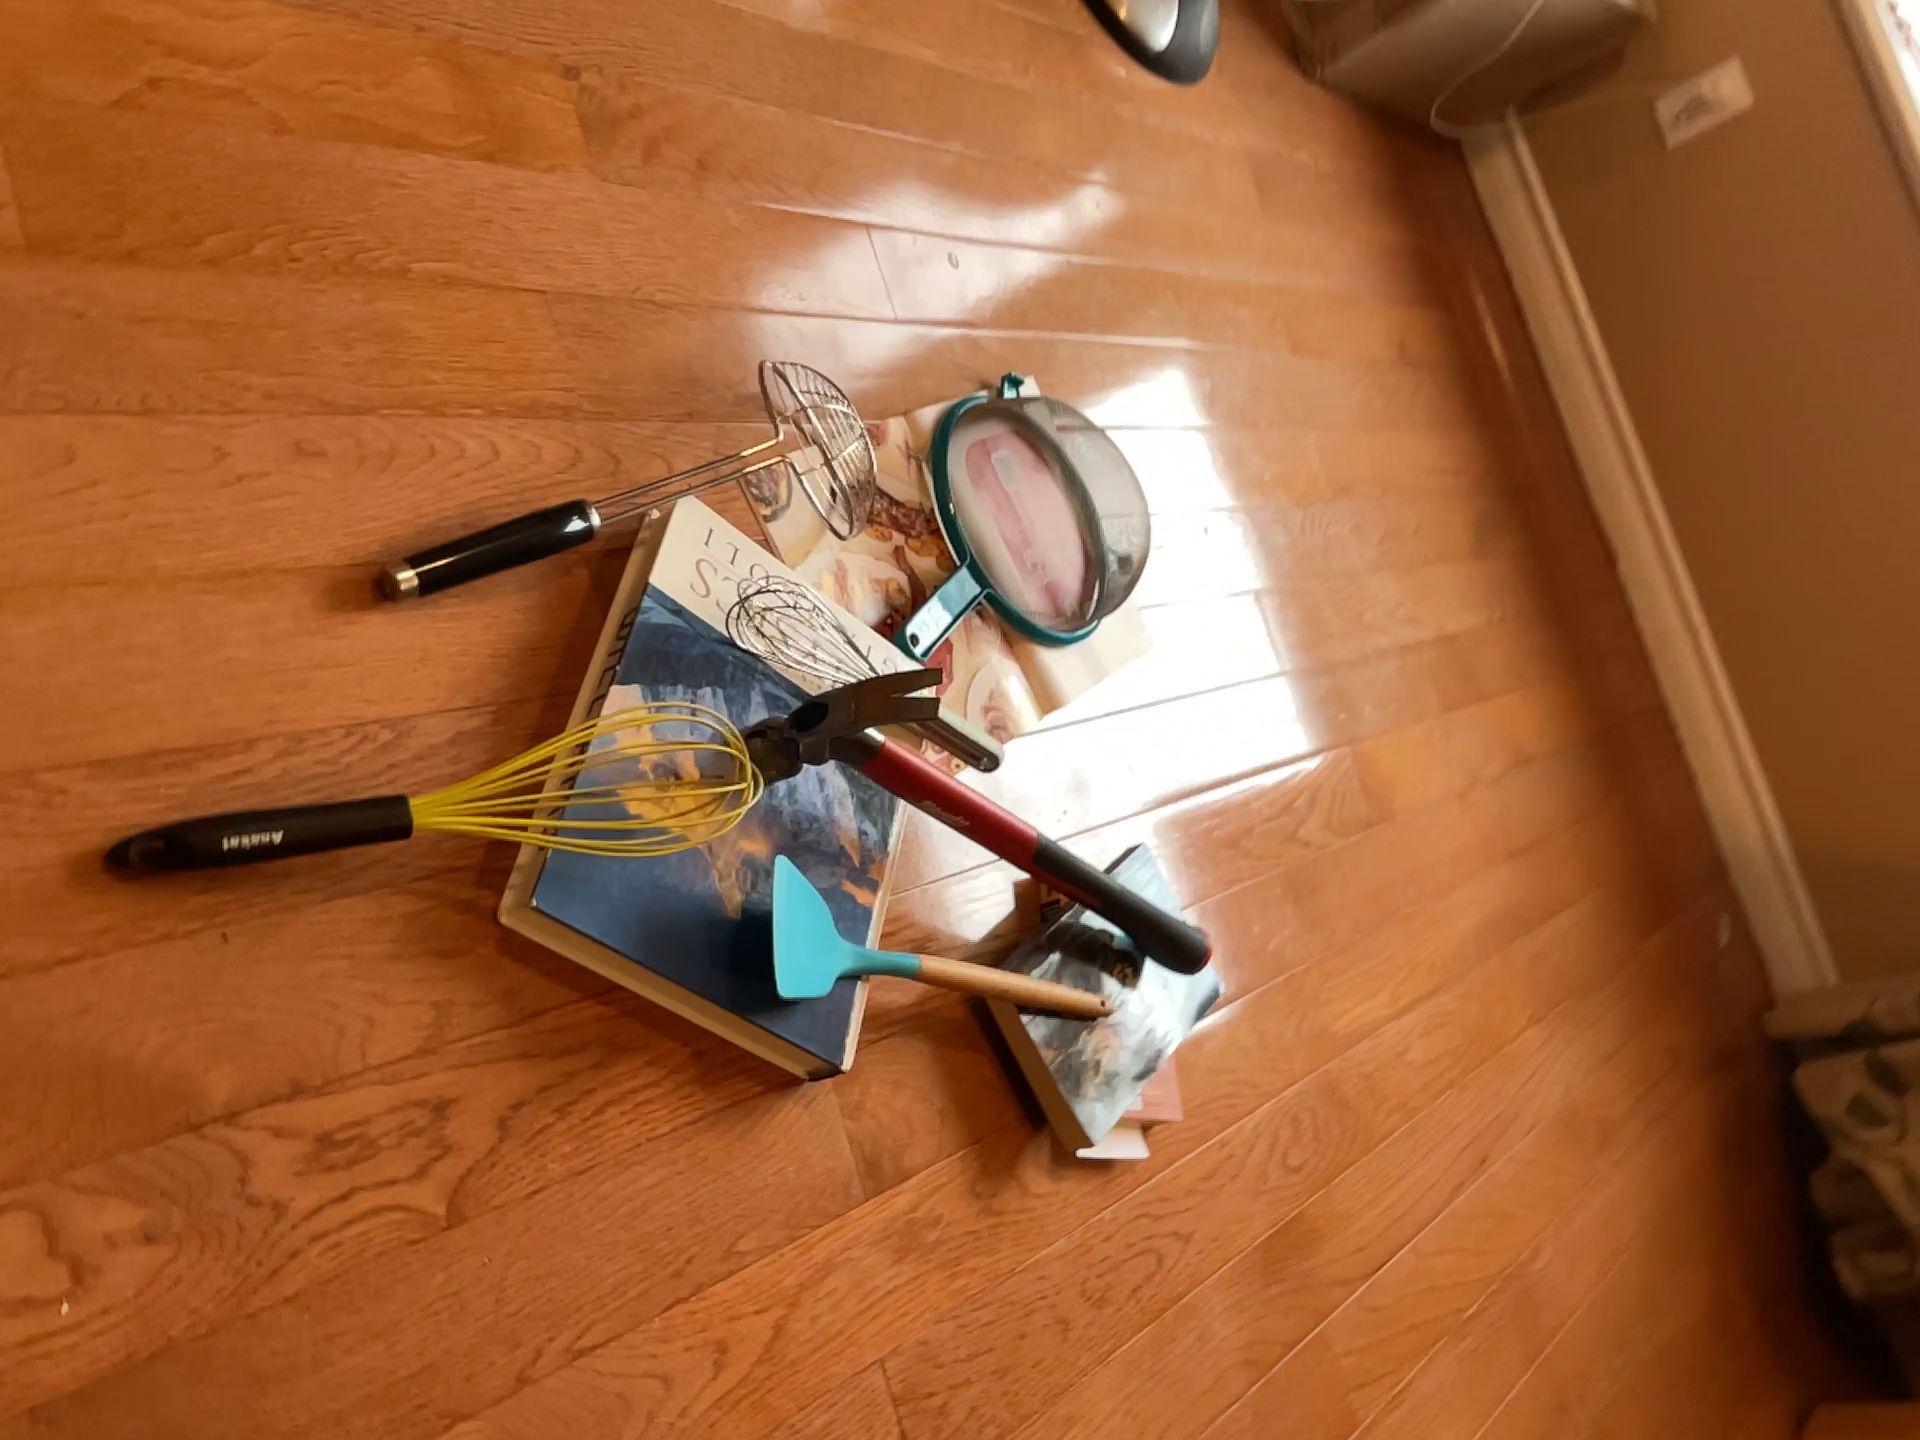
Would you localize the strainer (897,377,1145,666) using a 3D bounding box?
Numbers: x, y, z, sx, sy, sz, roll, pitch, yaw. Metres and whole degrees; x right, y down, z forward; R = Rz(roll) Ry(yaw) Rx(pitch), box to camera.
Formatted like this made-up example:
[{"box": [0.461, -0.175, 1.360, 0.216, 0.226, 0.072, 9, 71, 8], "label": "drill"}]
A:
[{"box": [0.055, -0.135, 1.162, 0.211, 0.095, 0.341, 57, 34, -13], "label": "strainer"}]

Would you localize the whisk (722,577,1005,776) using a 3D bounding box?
[{"box": [-0.052, -0.020, 0.990, 0.246, 0.057, 0.059, 33, 20, -41], "label": "whisk"}]

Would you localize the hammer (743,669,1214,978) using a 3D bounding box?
[{"box": [0.053, 0.079, 0.995, 0.386, 0.143, 0.038, 33, 54, -38], "label": "hammer"}]

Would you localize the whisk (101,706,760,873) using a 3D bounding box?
[{"box": [-0.239, 0.043, 0.767, 0.312, 0.067, 0.080, -7, 93, -35], "label": "whisk"}]

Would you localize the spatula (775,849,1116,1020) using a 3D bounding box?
[{"box": [-0.002, 0.152, 0.960, 0.317, 0.044, 0.082, 20, 57, -42], "label": "spatula"}]

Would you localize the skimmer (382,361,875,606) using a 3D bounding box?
[{"box": [-0.186, -0.128, 0.955, 0.364, 0.090, 0.127, -28, 97, -40], "label": "skimmer"}]
